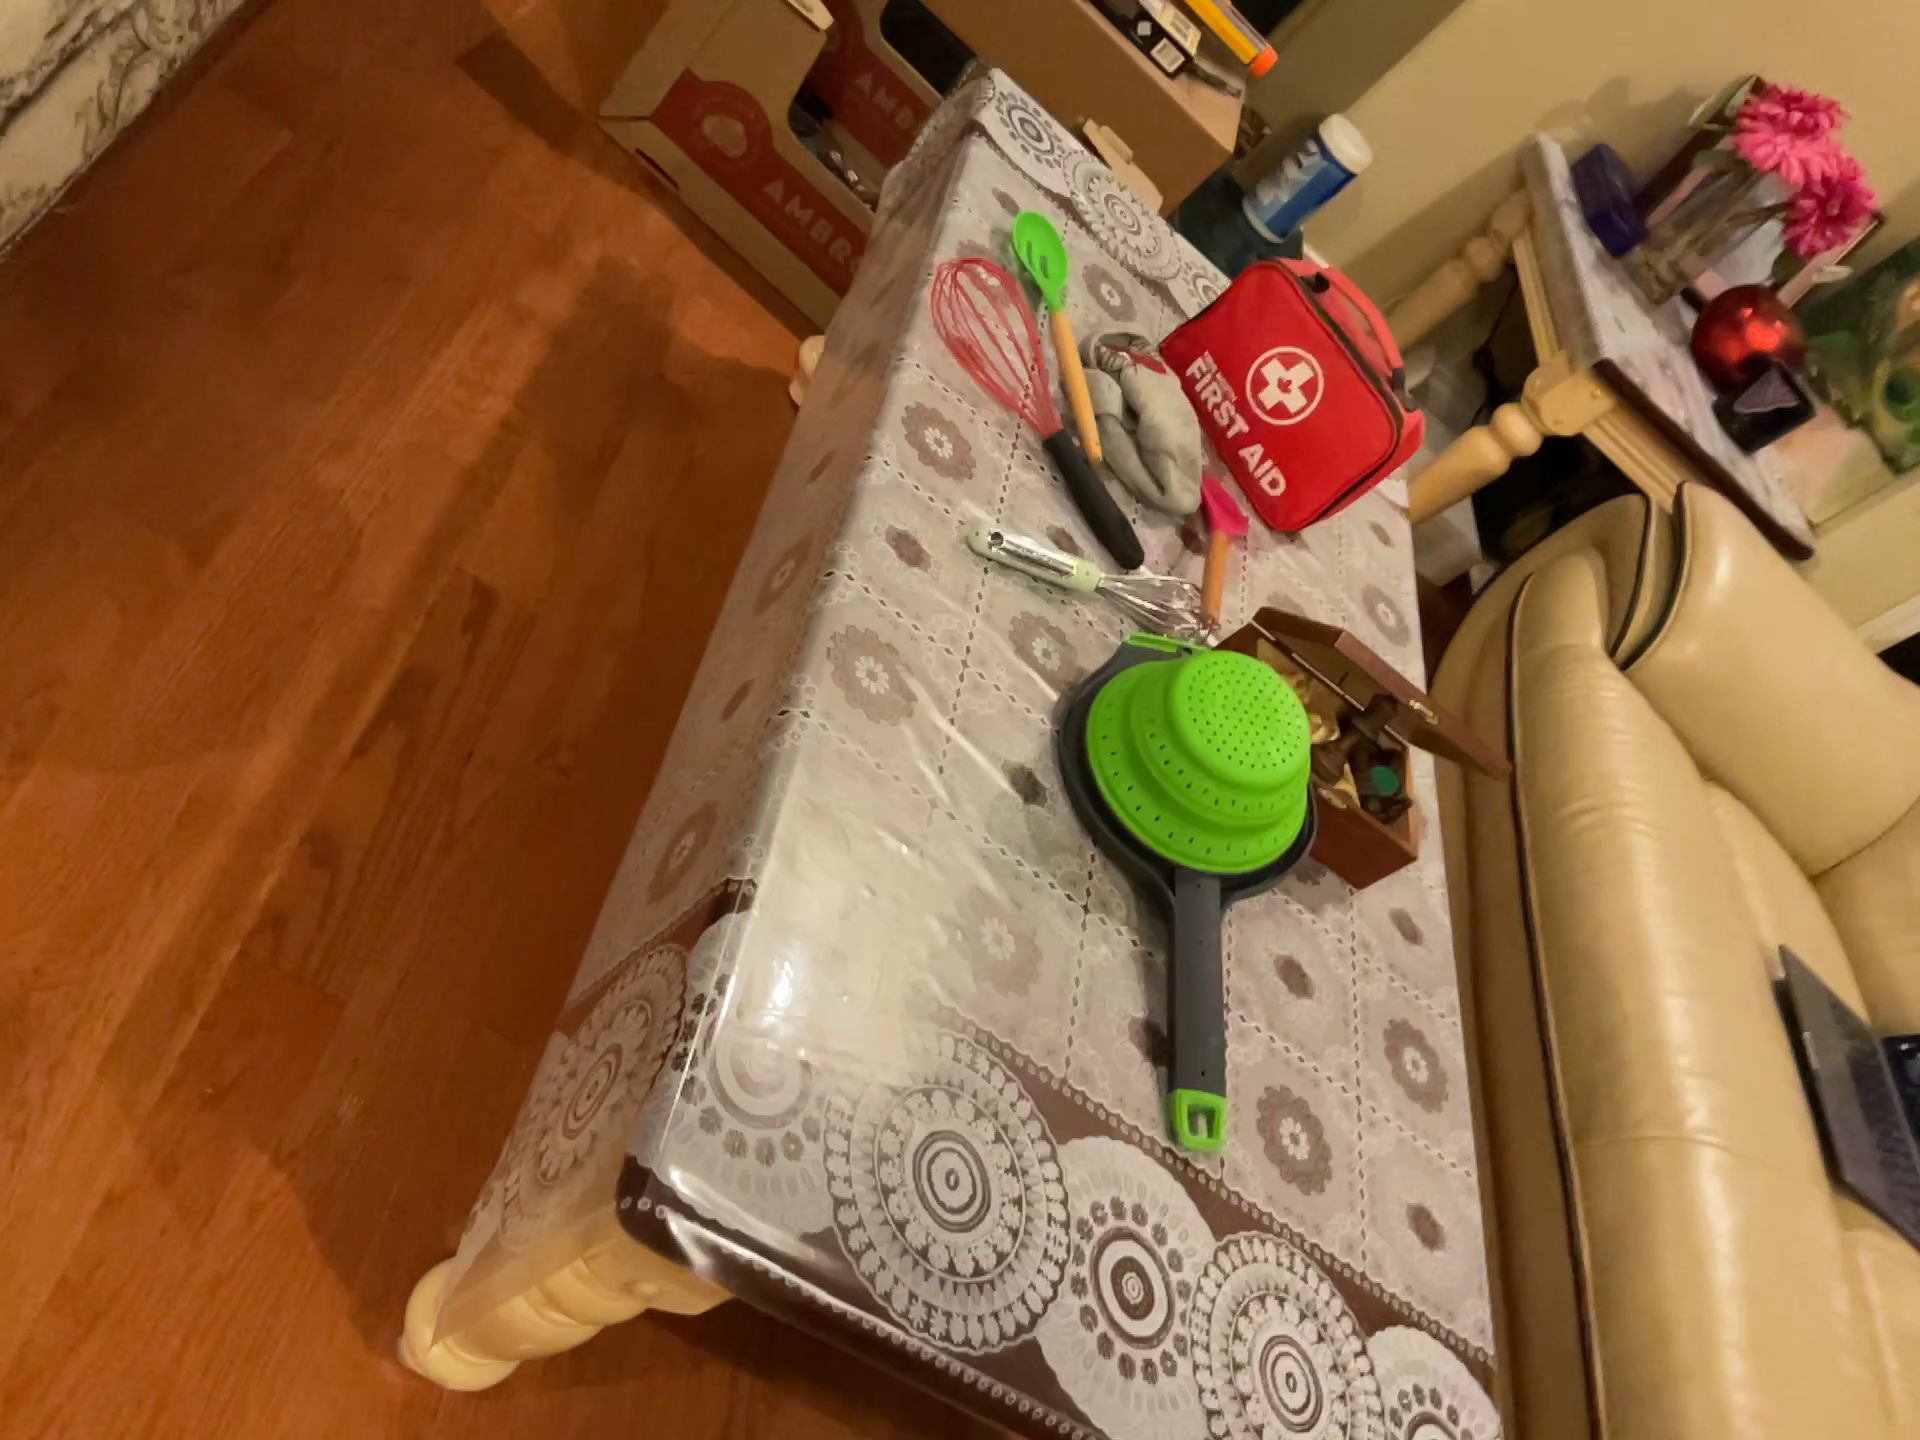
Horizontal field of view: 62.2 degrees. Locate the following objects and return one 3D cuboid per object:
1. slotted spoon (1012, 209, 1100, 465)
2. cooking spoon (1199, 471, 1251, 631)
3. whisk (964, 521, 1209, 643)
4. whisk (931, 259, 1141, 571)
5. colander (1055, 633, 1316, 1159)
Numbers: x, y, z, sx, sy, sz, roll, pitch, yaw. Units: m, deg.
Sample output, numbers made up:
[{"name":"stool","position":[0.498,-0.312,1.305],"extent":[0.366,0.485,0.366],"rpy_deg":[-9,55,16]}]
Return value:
[{"name":"slotted spoon","position":[0.088,-0.338,1.397],"extent":[0.070,0.031,0.314],"rpy_deg":[21,44,-35]},{"name":"cooking spoon","position":[0.219,-0.148,1.363],"extent":[0.068,0.017,0.319],"rpy_deg":[42,27,-11]},{"name":"whisk","position":[0.102,-0.104,1.237],"extent":[0.246,0.059,0.058],"rpy_deg":[19,7,-34]},{"name":"whisk","position":[0.067,-0.250,1.303],"extent":[0.296,0.073,0.073],"rpy_deg":[58,31,-3]},{"name":"colander","position":[0.171,0.088,1.070],"extent":[0.204,0.094,0.398],"rpy_deg":[14,55,-14]}]
